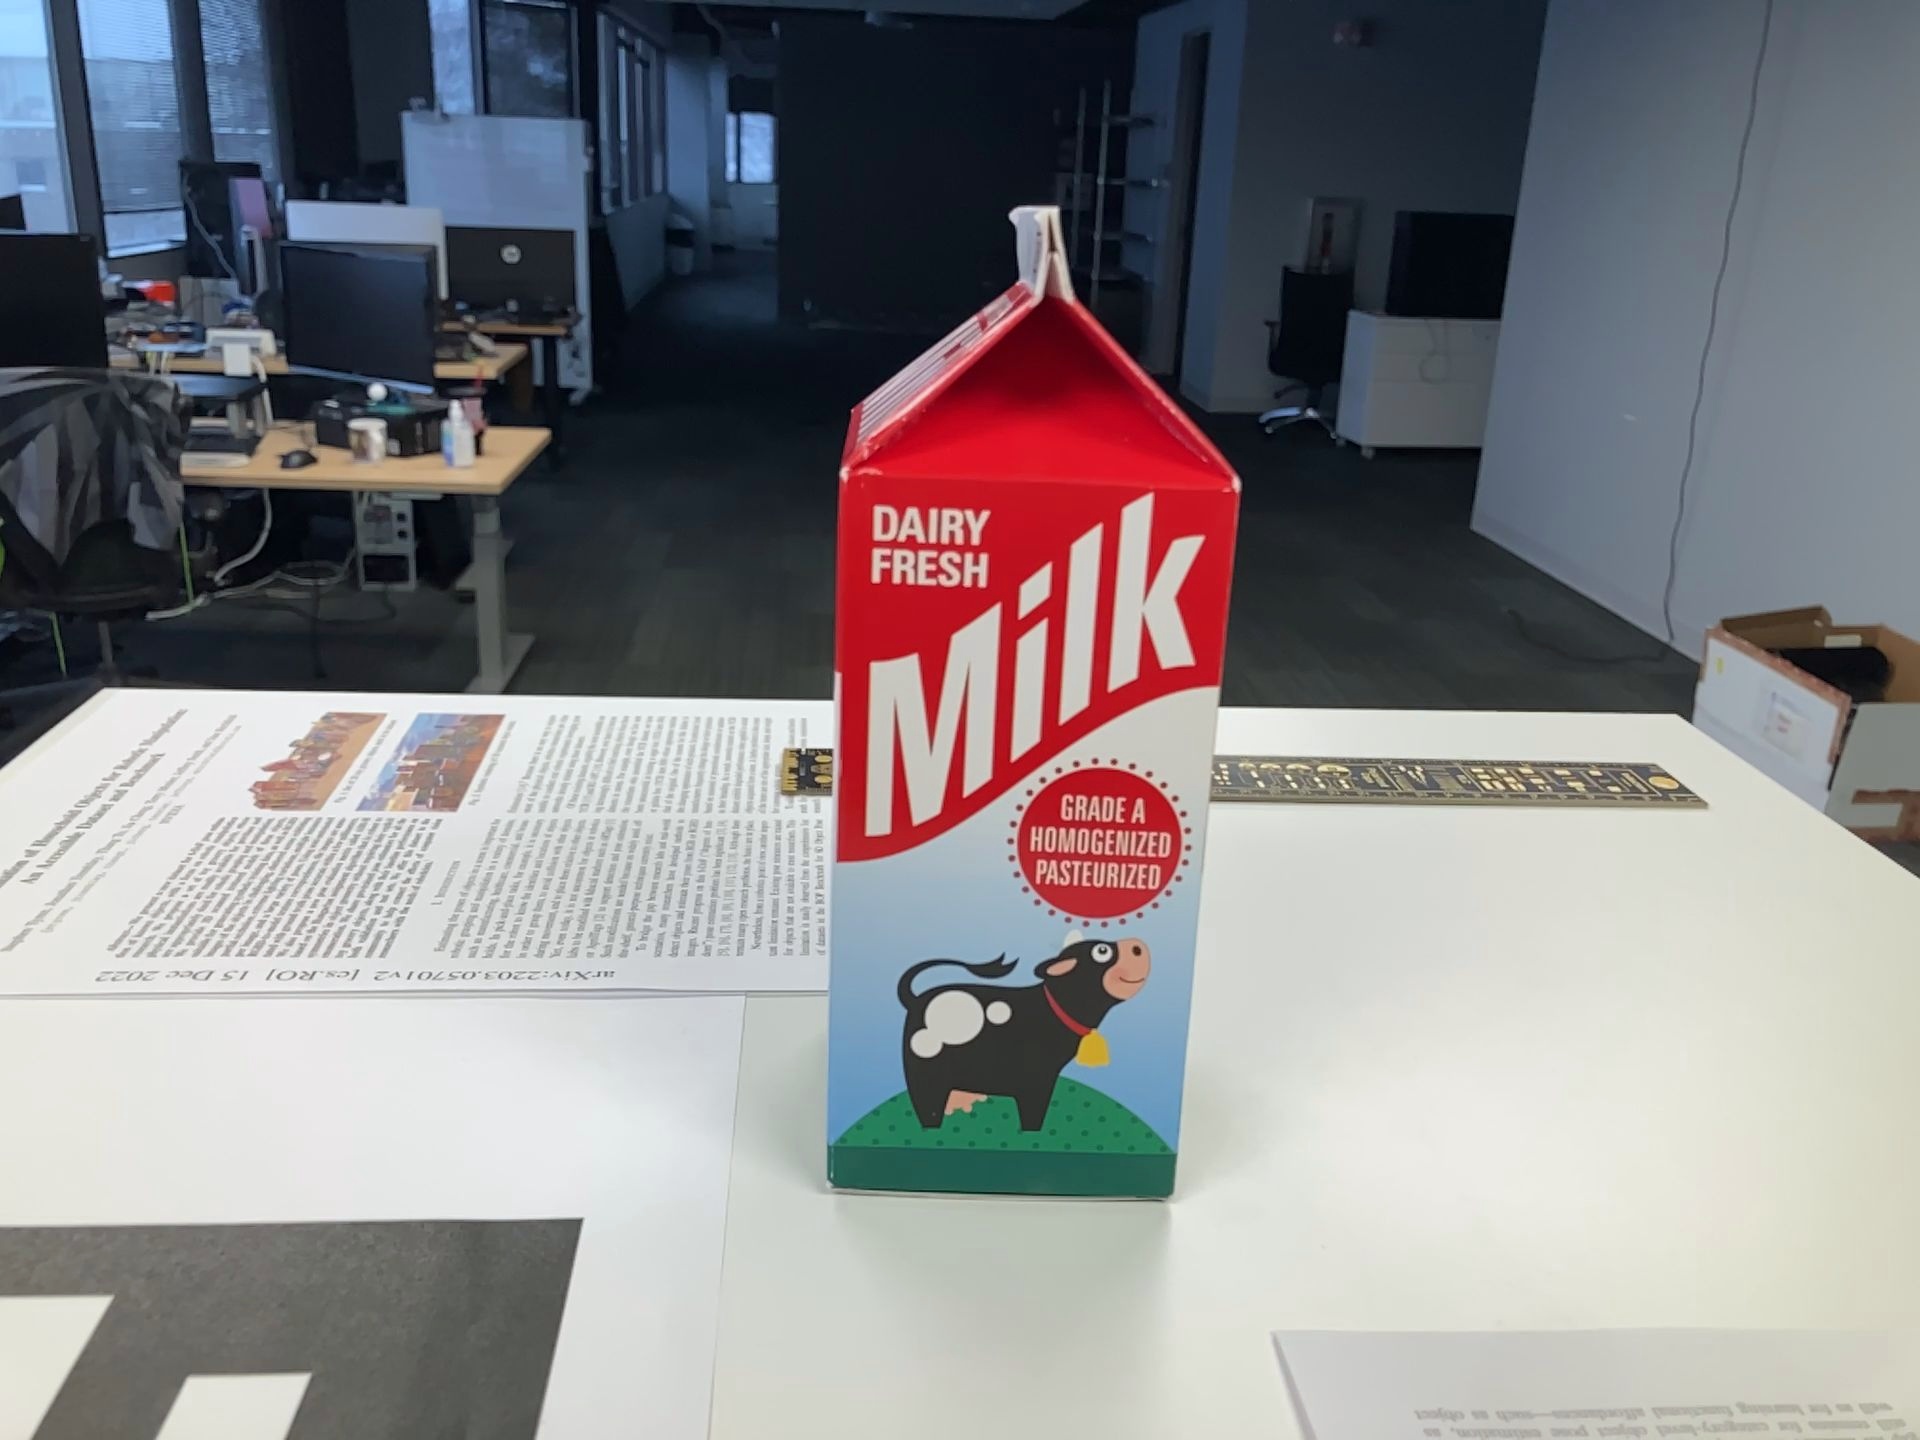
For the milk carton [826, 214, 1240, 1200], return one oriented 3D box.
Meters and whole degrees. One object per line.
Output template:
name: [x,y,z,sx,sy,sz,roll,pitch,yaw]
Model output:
milk carton: [0.011,-0.003,0.324,0.073,0.190,0.072,2,18,-2]
